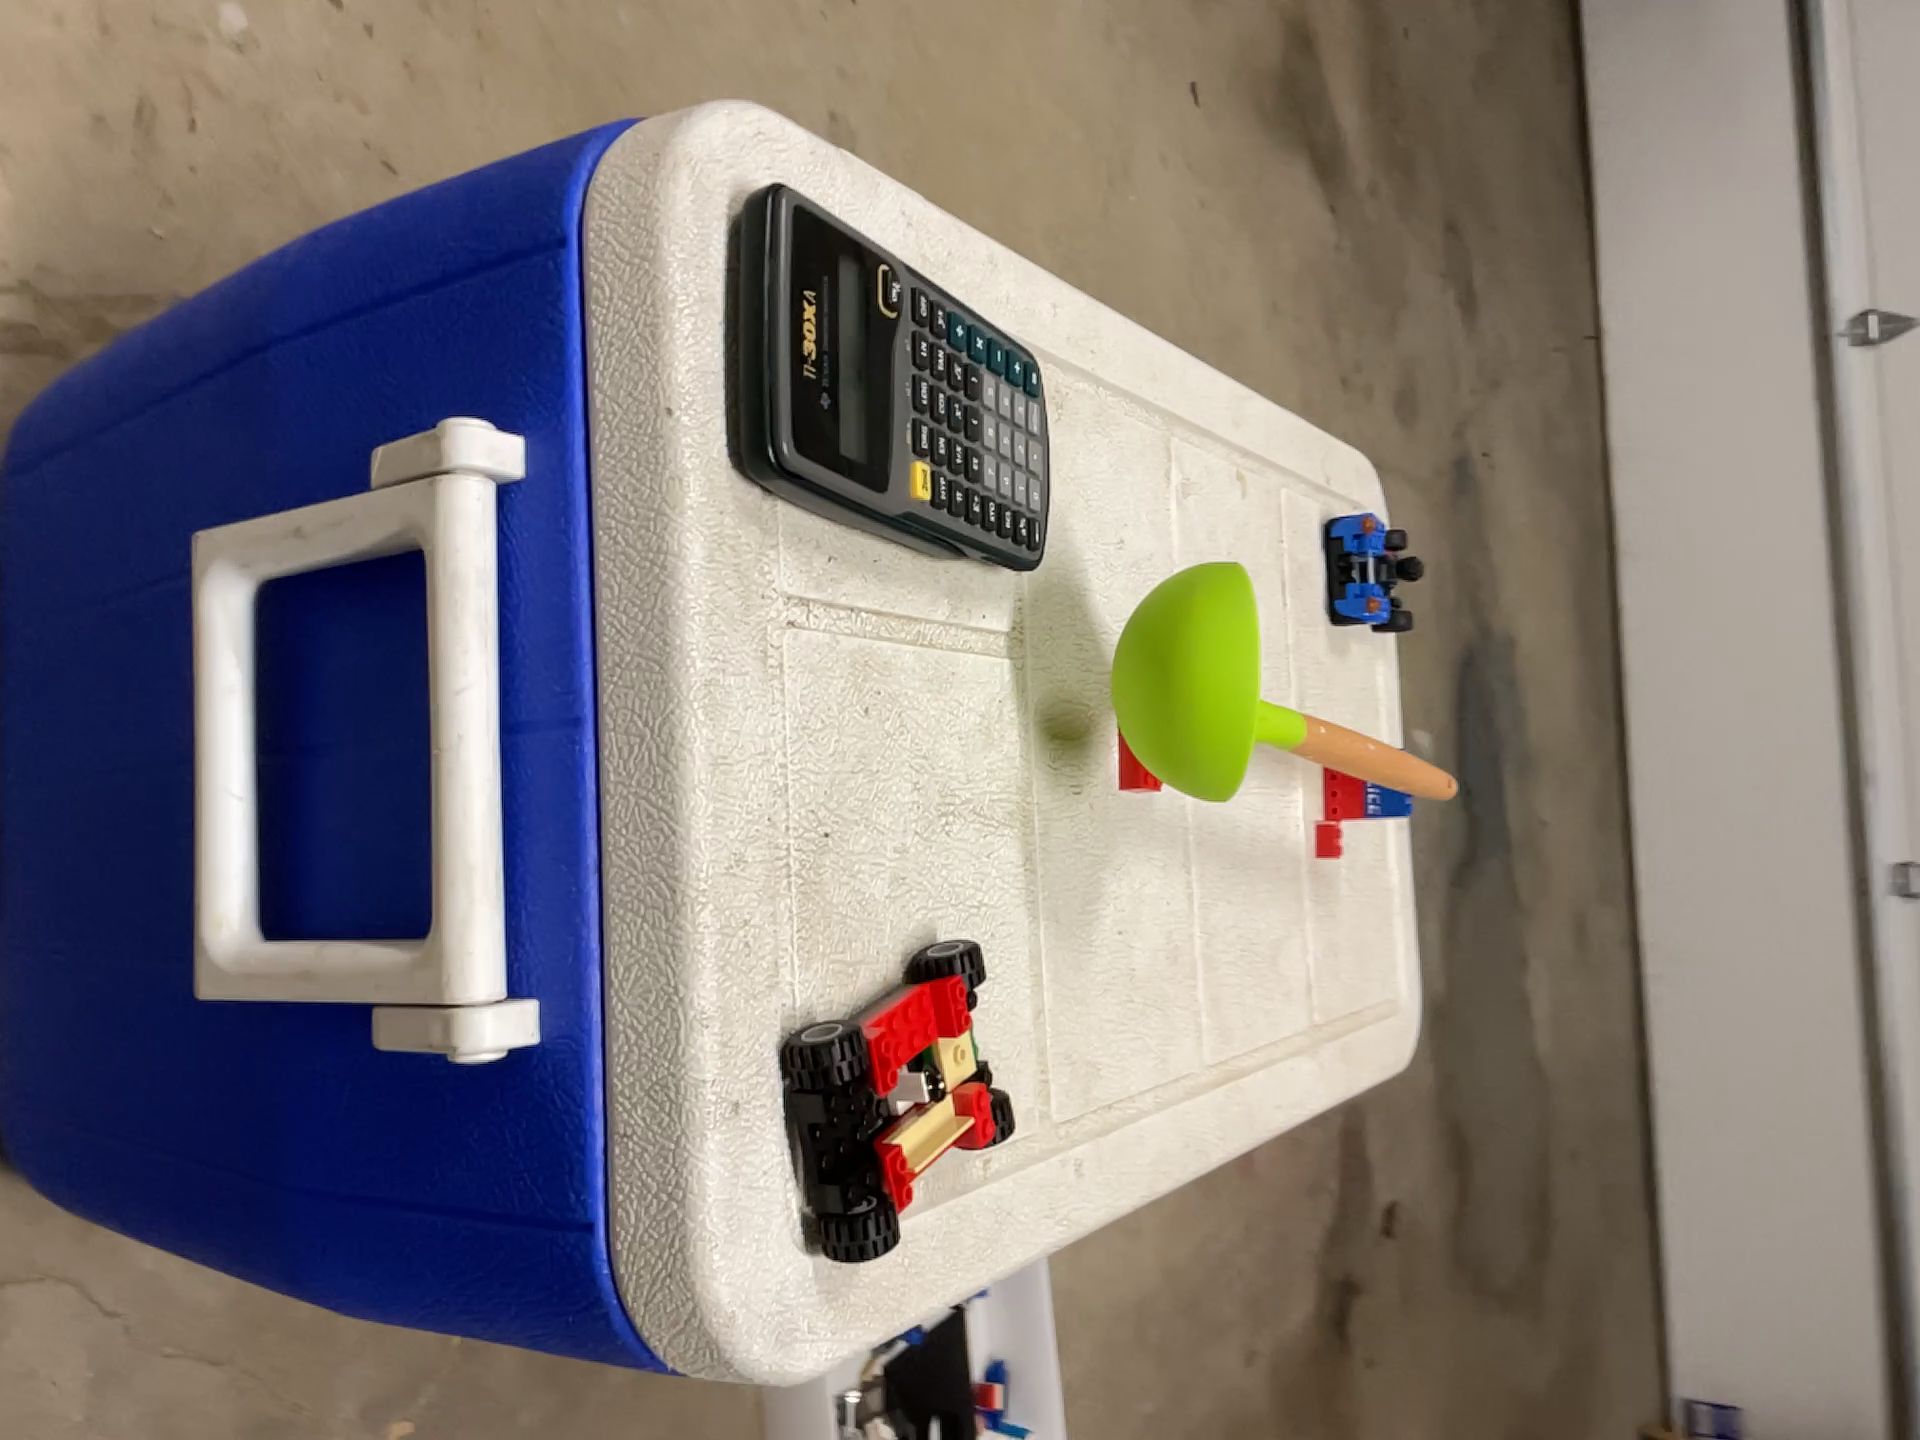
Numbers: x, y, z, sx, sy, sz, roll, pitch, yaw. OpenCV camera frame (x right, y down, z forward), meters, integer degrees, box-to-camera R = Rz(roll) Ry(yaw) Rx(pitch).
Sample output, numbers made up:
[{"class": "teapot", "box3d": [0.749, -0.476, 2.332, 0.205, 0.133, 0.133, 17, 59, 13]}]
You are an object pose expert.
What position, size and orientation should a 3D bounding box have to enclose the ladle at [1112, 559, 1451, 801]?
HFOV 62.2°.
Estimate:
[{"class": "ladle", "box3d": [0.148, 0.006, 0.620, 0.320, 0.062, 0.078, 16, 72, -55]}]
